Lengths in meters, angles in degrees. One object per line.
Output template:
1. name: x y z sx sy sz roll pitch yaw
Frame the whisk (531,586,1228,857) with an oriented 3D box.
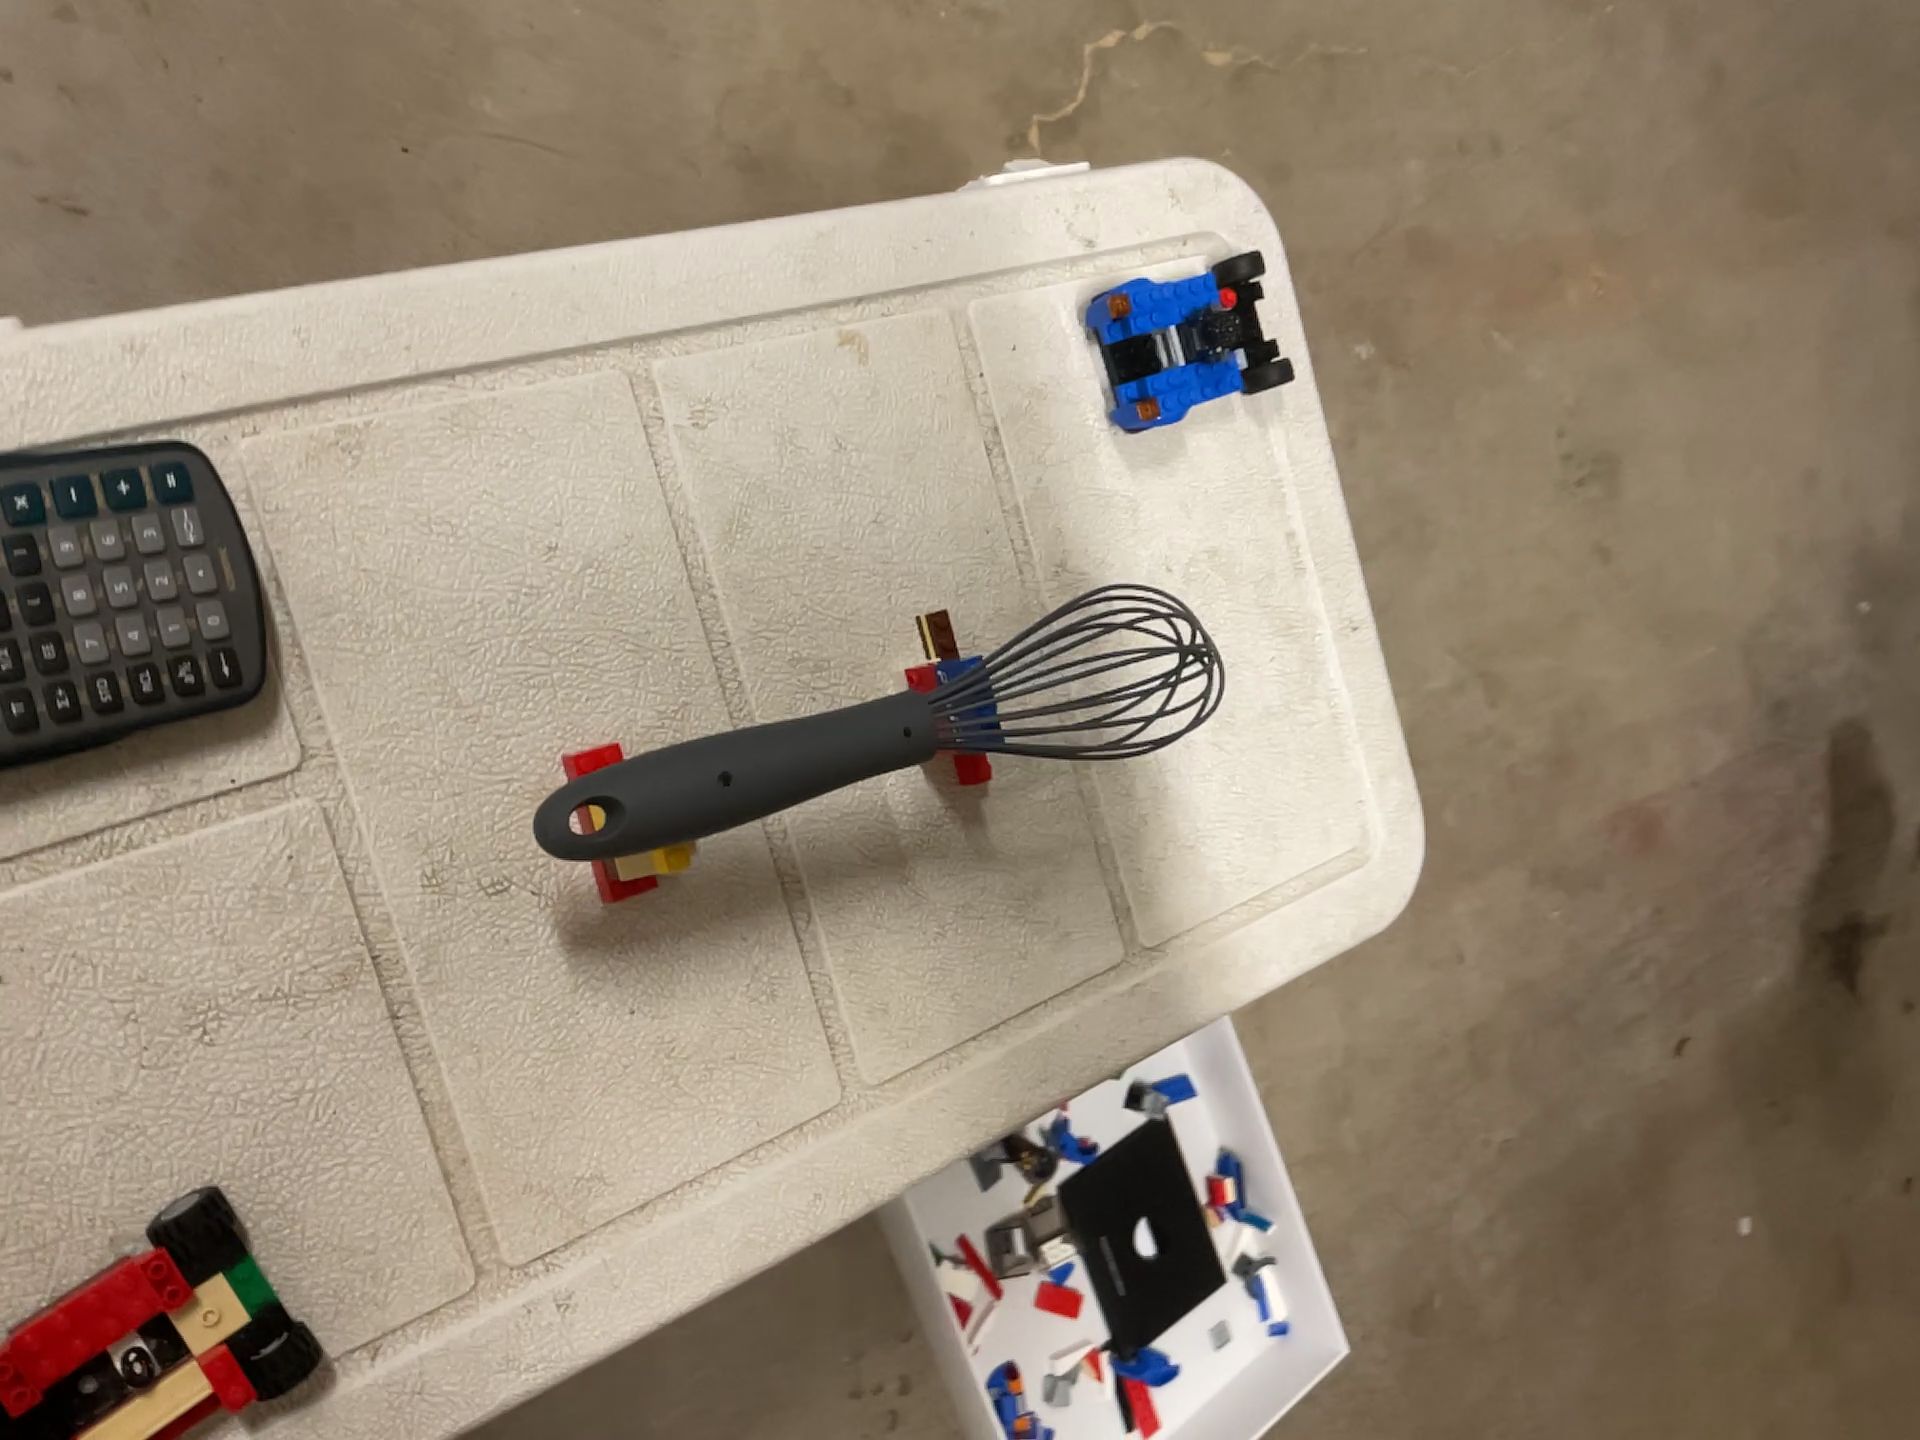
1. whisk: -0.016 0.000 0.495 0.239 0.055 0.055 -15 93 -28
